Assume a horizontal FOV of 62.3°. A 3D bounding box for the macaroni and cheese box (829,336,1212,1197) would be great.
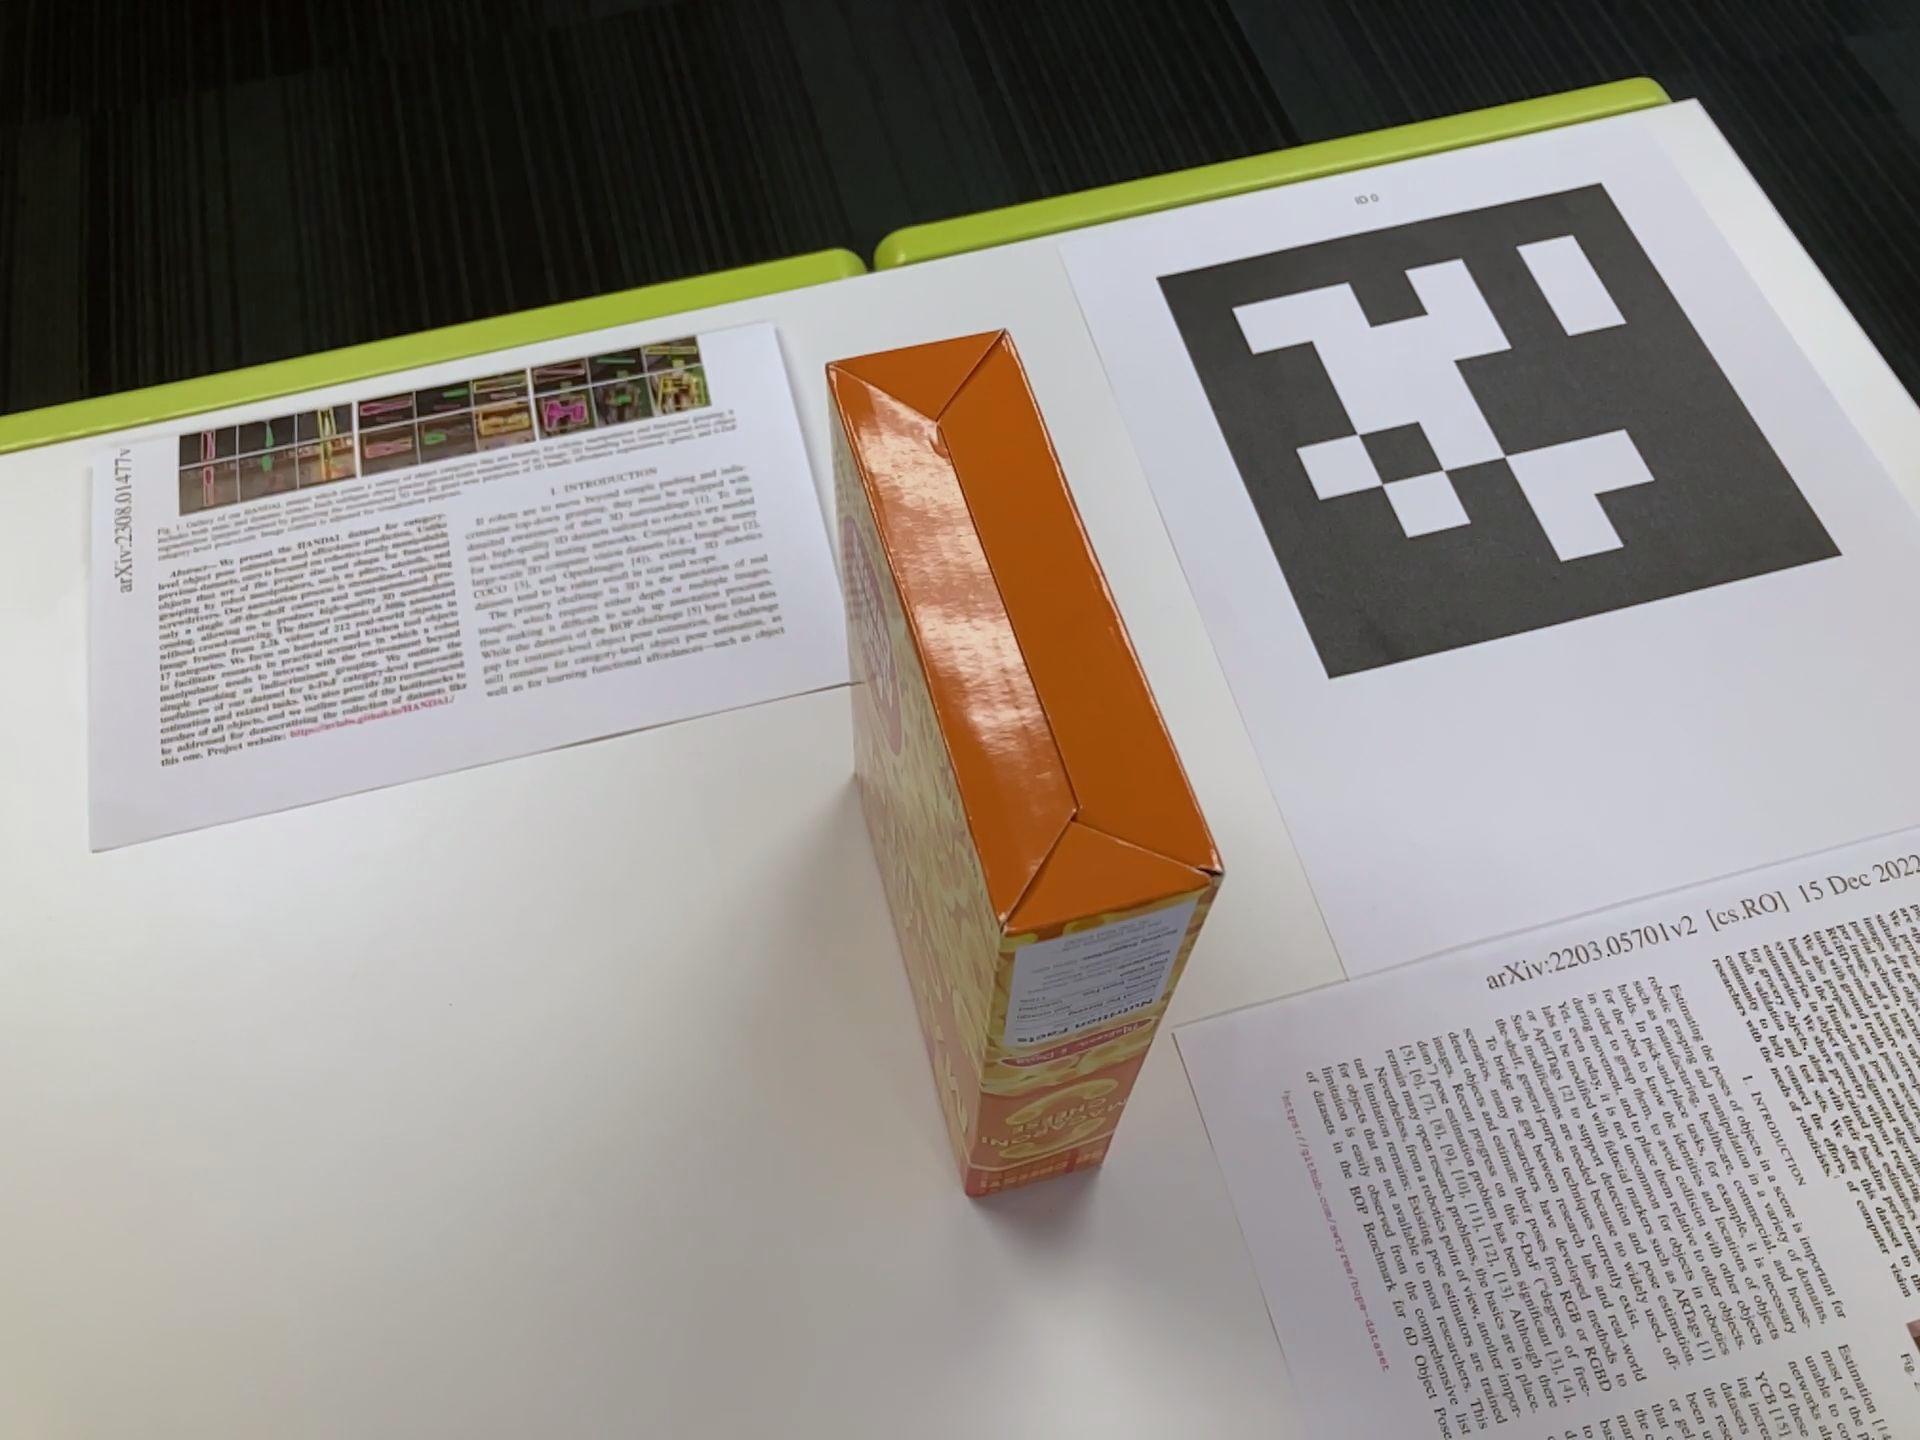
[{"bbox_3d":[0.006,0.021,0.350,0.040,0.166,0.124,-12,60,-8],"label":"macaroni and cheese box"}]
